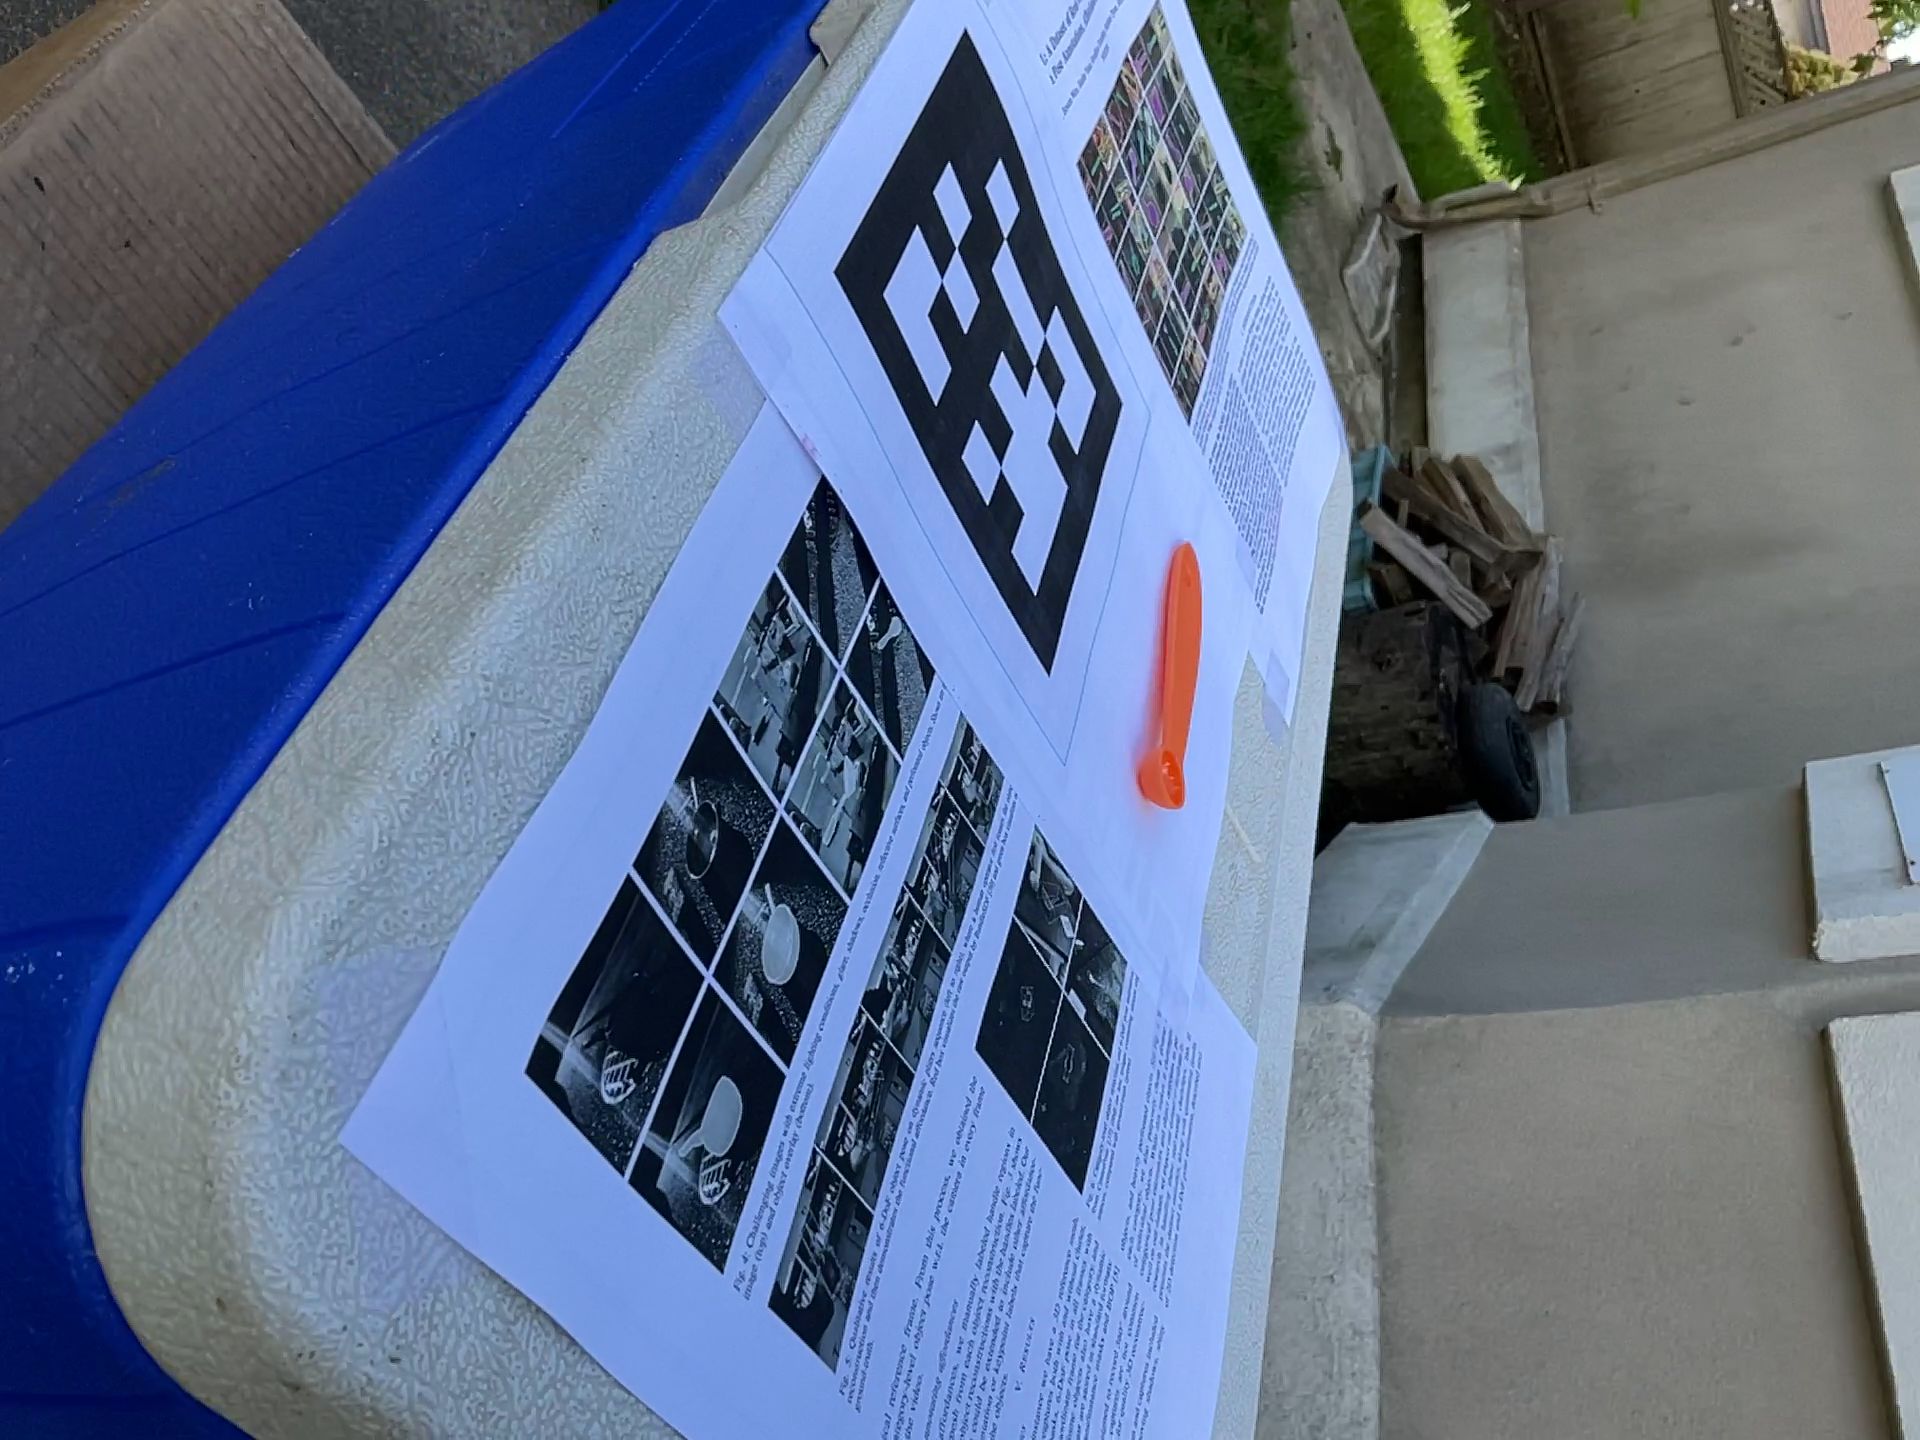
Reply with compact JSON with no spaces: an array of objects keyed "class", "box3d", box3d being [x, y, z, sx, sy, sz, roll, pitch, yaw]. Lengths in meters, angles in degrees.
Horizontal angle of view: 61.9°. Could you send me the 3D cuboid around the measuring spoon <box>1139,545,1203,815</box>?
[{"class":"measuring spoon","box3d":[0.066,-0.016,0.505,0.021,0.011,0.117,56,32,-36]}]
